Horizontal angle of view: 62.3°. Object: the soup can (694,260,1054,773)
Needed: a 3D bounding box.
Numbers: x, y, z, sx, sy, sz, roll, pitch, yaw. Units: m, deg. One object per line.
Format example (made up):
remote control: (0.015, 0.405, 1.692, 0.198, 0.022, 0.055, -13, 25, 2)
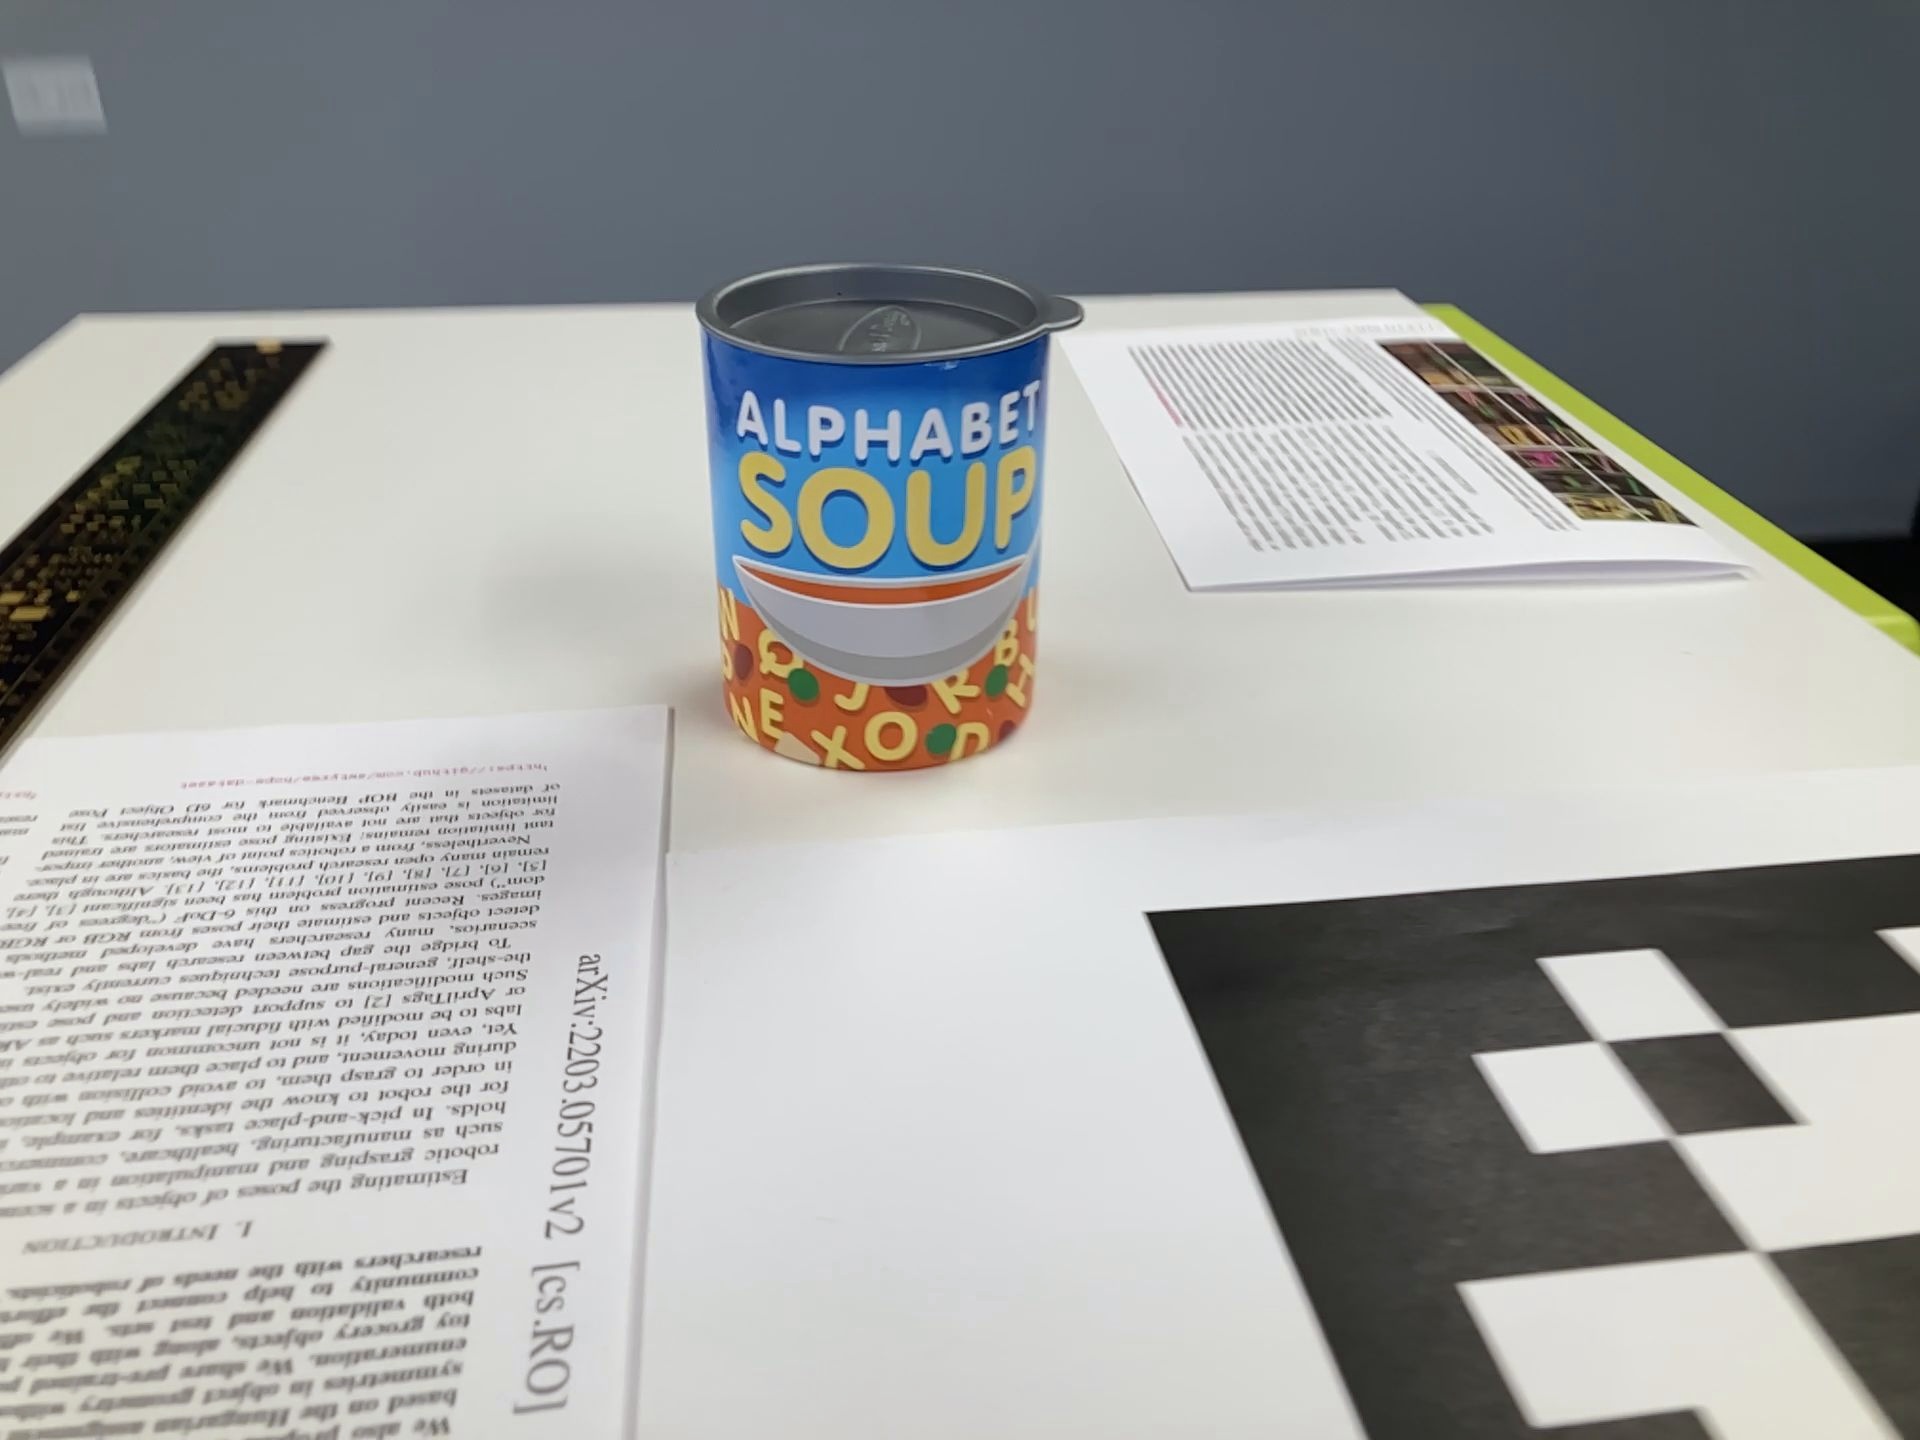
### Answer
soup can: (-0.016, -0.040, 0.311, 0.071, 0.084, 0.071, 0, 29, 0)
